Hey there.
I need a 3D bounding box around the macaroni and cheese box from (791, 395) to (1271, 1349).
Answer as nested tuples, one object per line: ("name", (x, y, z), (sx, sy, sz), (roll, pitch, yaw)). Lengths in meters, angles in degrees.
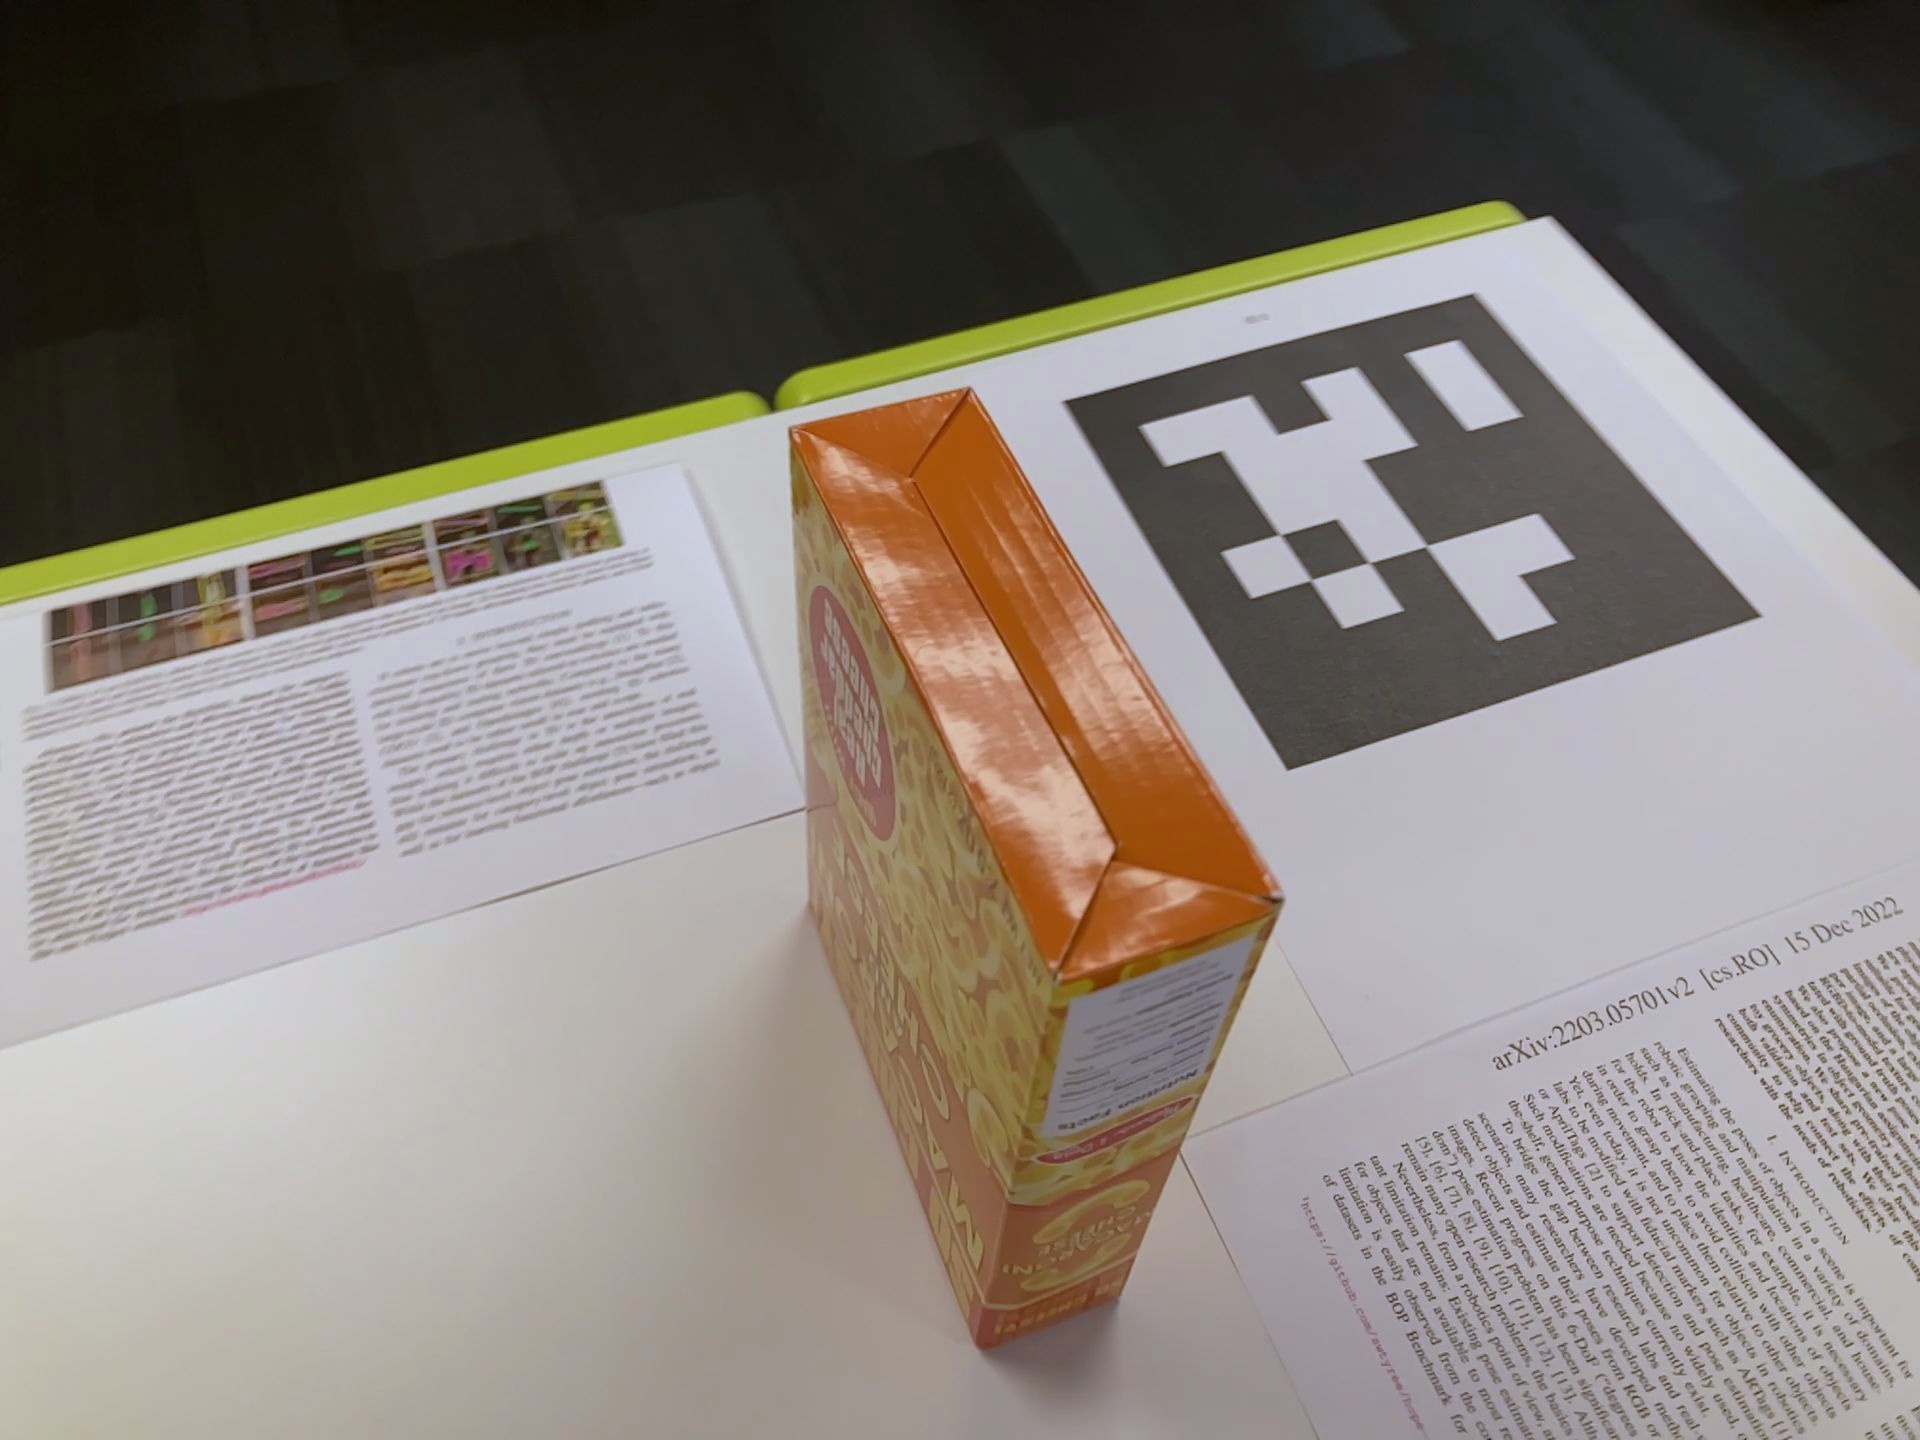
("macaroni and cheese box", (0.004, 0.039, 0.327), (0.040, 0.166, 0.124), (-15, 54, -15))
